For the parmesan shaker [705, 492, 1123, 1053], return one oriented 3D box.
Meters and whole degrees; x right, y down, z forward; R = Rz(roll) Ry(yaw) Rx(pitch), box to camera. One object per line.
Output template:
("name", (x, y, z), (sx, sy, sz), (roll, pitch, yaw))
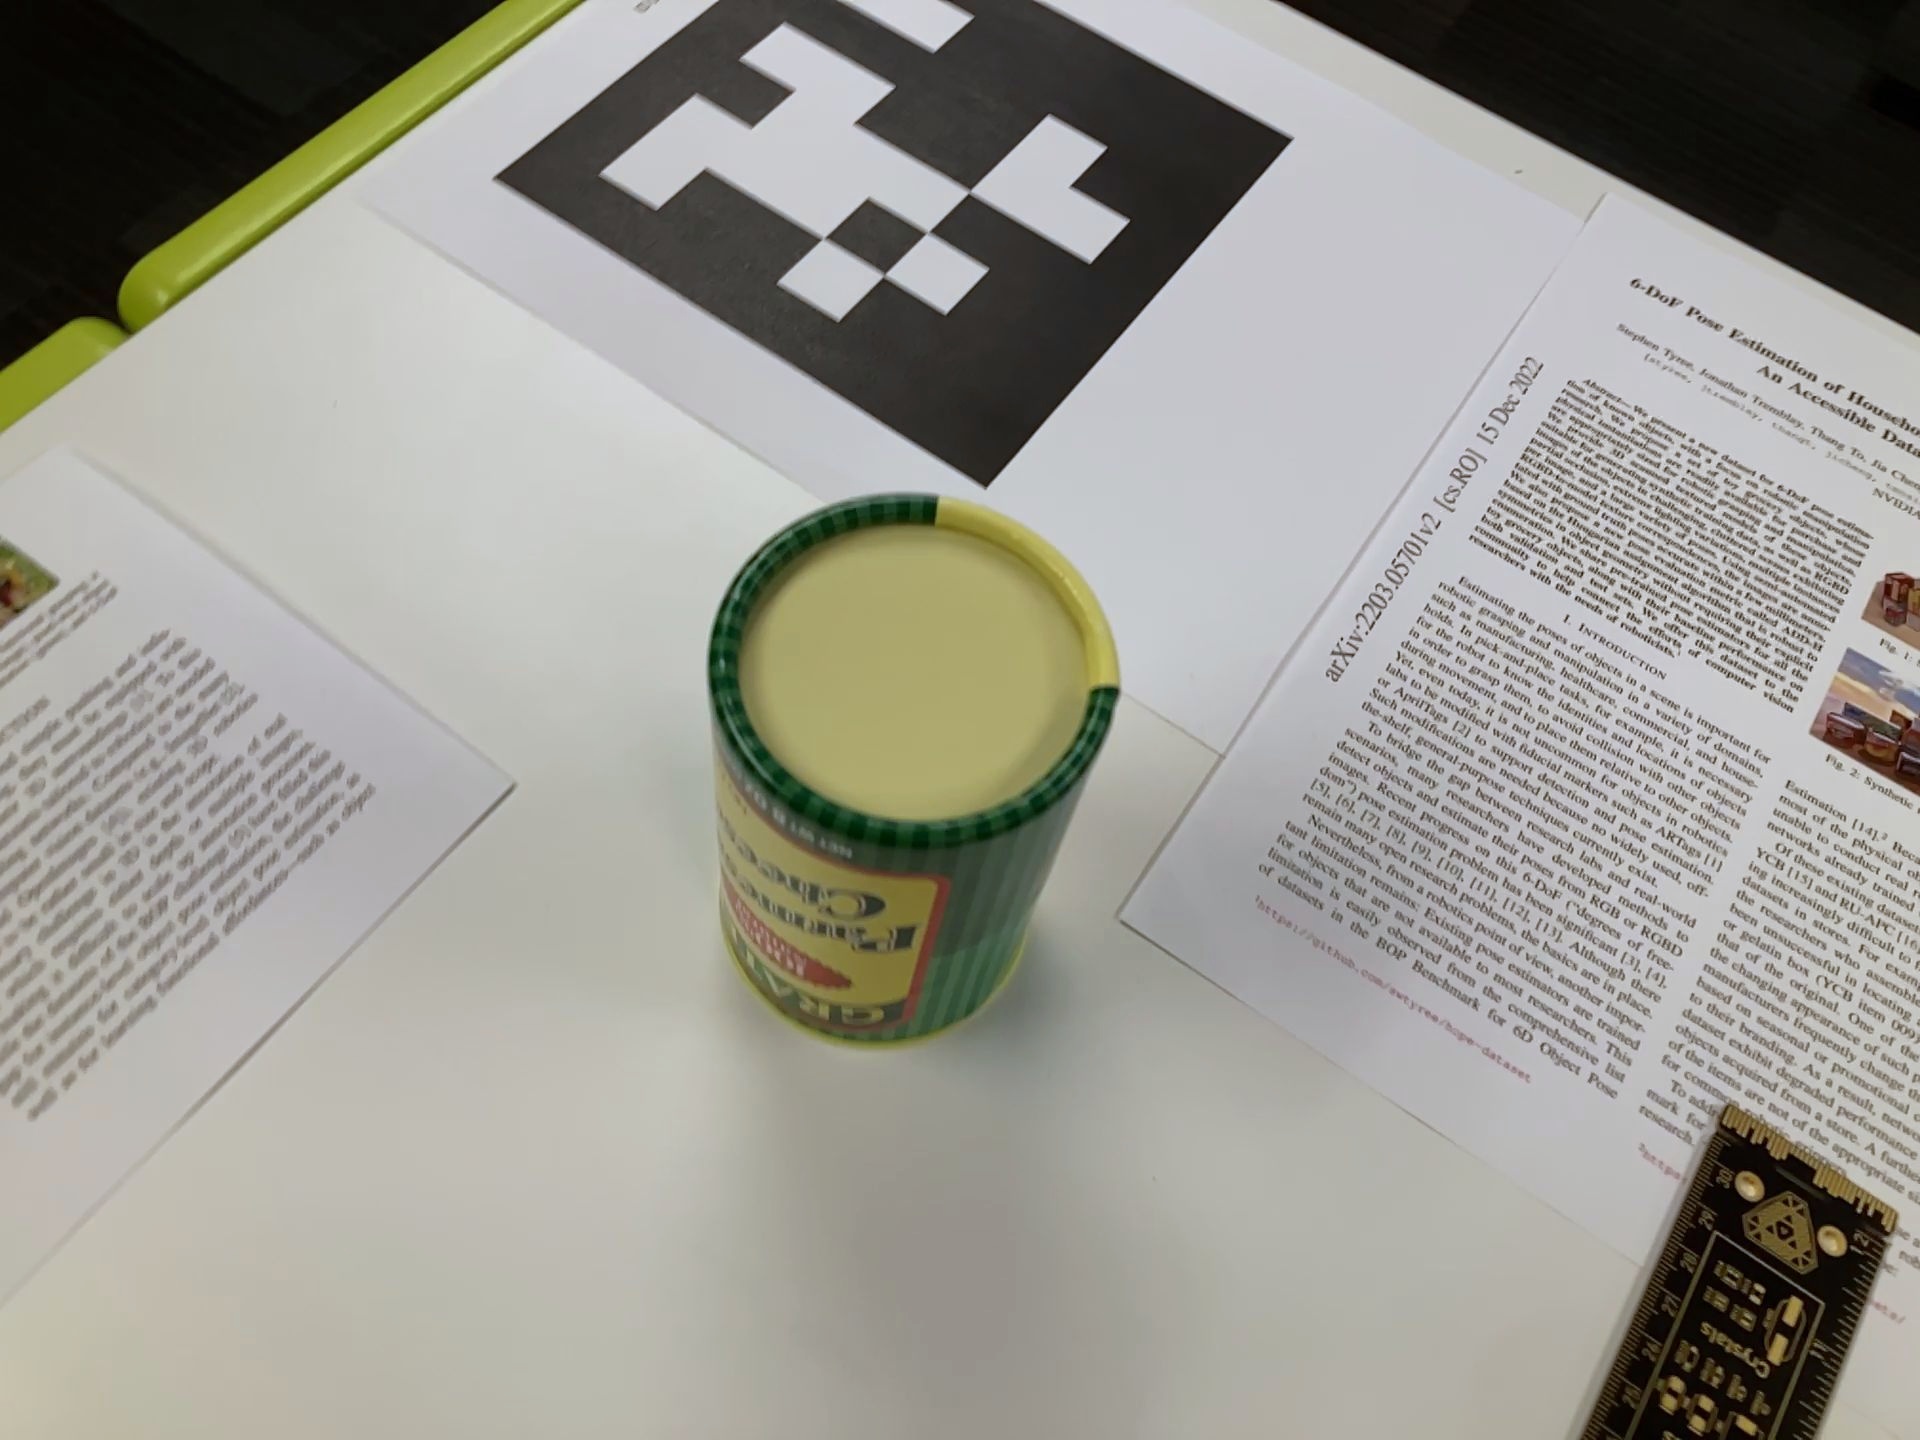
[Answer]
("parmesan shaker", (-0.015, 0.012, 0.292), (0.071, 0.103, 0.071), (3, 61, -5))
